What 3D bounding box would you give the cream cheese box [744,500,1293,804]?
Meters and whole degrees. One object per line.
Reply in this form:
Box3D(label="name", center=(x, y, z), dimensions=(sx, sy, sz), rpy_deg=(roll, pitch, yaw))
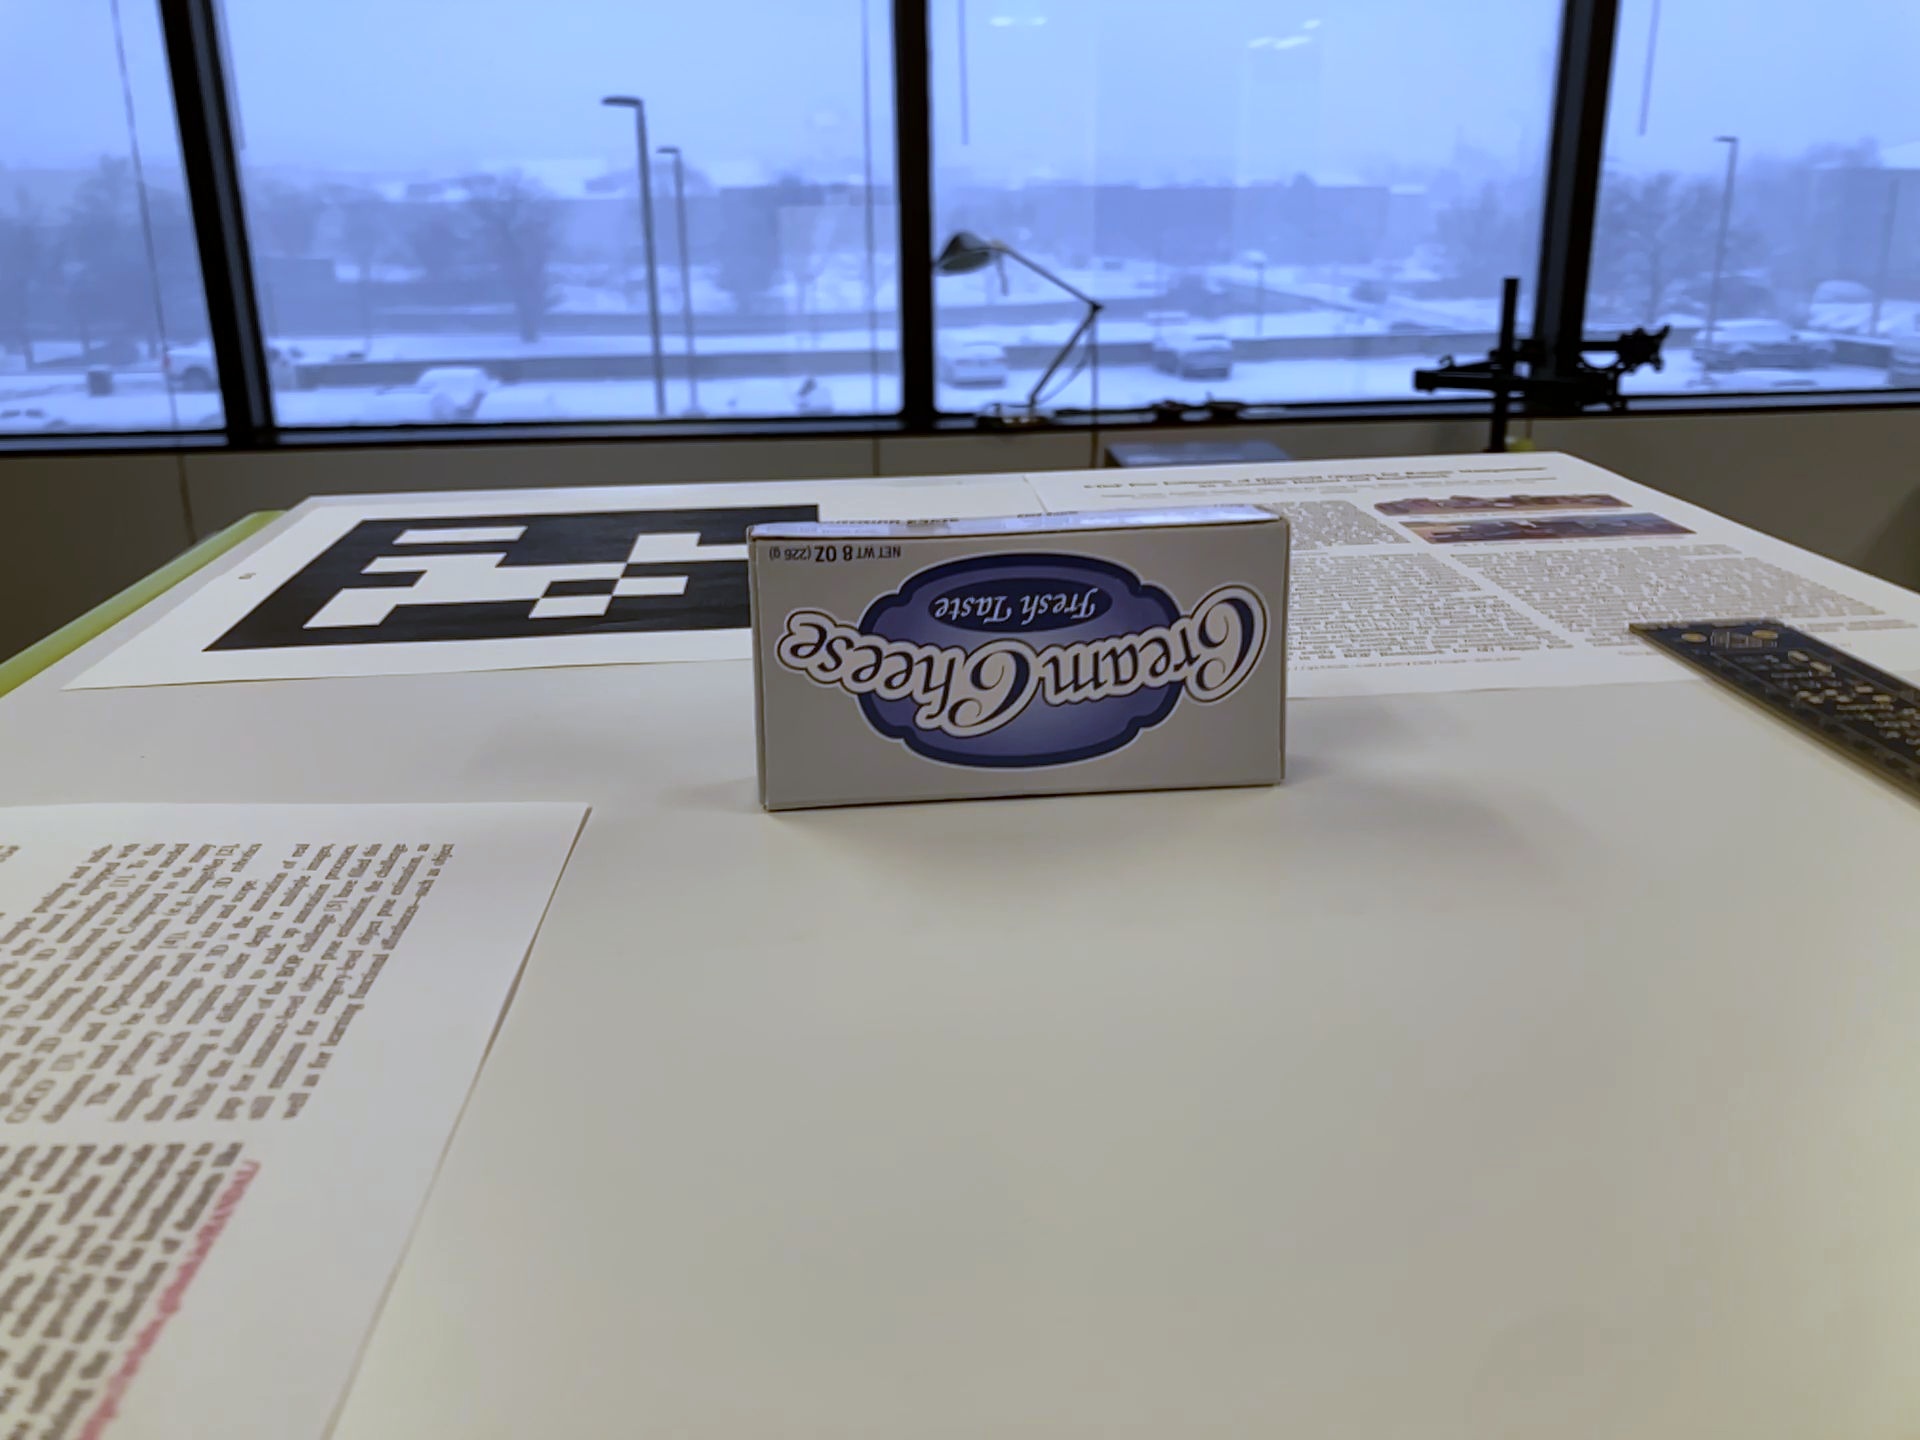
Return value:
Box3D(label="cream cheese box", center=(0.011, -0.014, 0.307), dimensions=(0.104, 0.053, 0.024), rpy_deg=(-2, 16, -5))
